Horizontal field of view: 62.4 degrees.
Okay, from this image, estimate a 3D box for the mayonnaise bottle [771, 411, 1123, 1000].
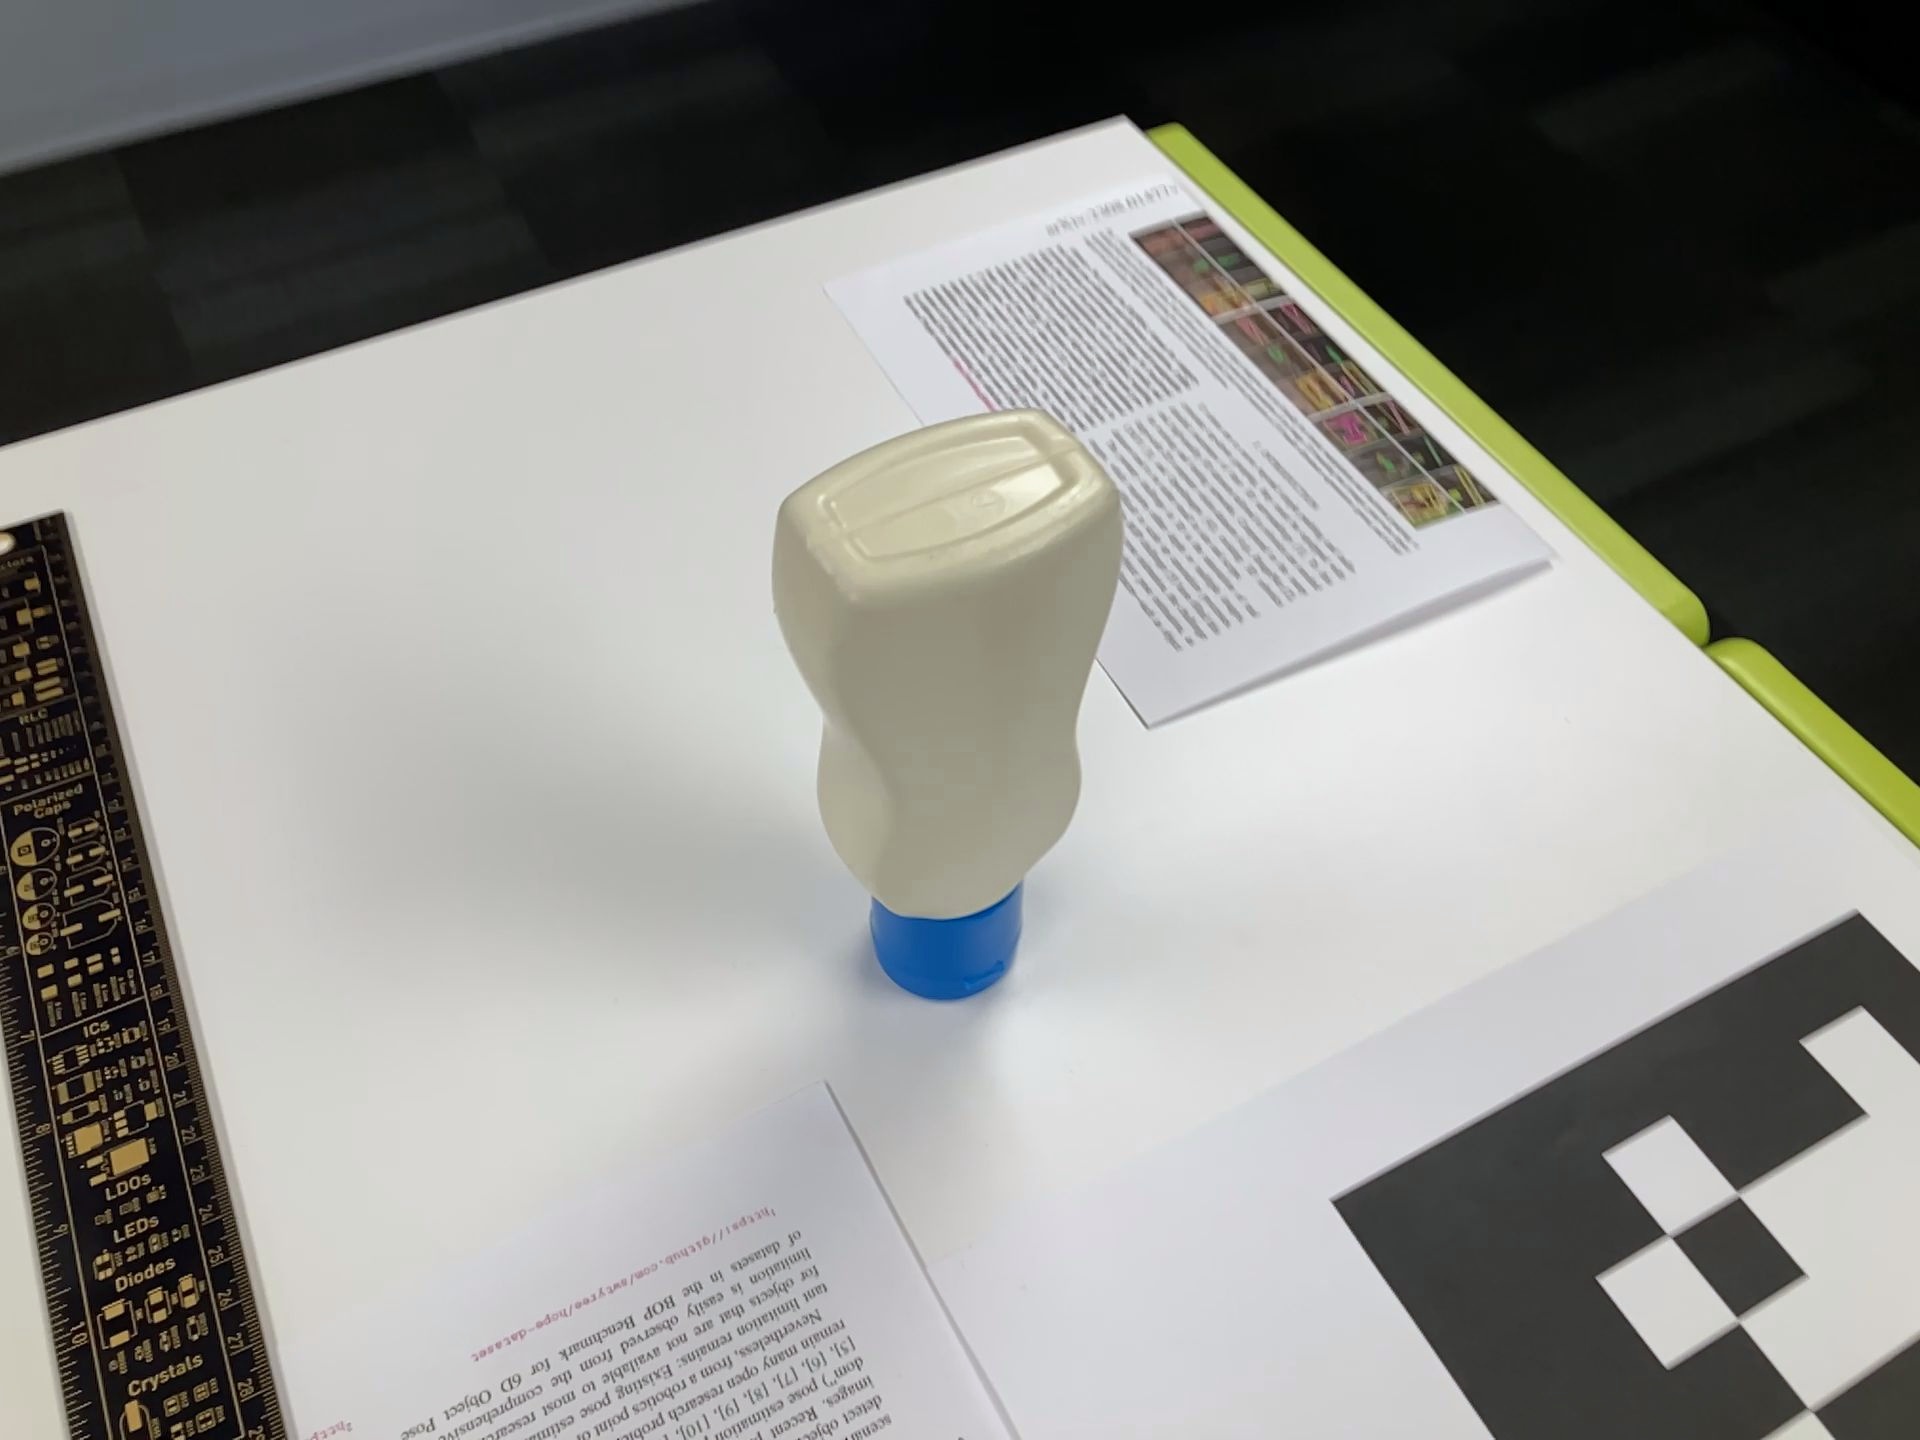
[{"bbox_3d":[-0.003,0.007,0.334,0.065,0.148,0.041,-23,55,-19],"label":"mayonnaise bottle"}]
